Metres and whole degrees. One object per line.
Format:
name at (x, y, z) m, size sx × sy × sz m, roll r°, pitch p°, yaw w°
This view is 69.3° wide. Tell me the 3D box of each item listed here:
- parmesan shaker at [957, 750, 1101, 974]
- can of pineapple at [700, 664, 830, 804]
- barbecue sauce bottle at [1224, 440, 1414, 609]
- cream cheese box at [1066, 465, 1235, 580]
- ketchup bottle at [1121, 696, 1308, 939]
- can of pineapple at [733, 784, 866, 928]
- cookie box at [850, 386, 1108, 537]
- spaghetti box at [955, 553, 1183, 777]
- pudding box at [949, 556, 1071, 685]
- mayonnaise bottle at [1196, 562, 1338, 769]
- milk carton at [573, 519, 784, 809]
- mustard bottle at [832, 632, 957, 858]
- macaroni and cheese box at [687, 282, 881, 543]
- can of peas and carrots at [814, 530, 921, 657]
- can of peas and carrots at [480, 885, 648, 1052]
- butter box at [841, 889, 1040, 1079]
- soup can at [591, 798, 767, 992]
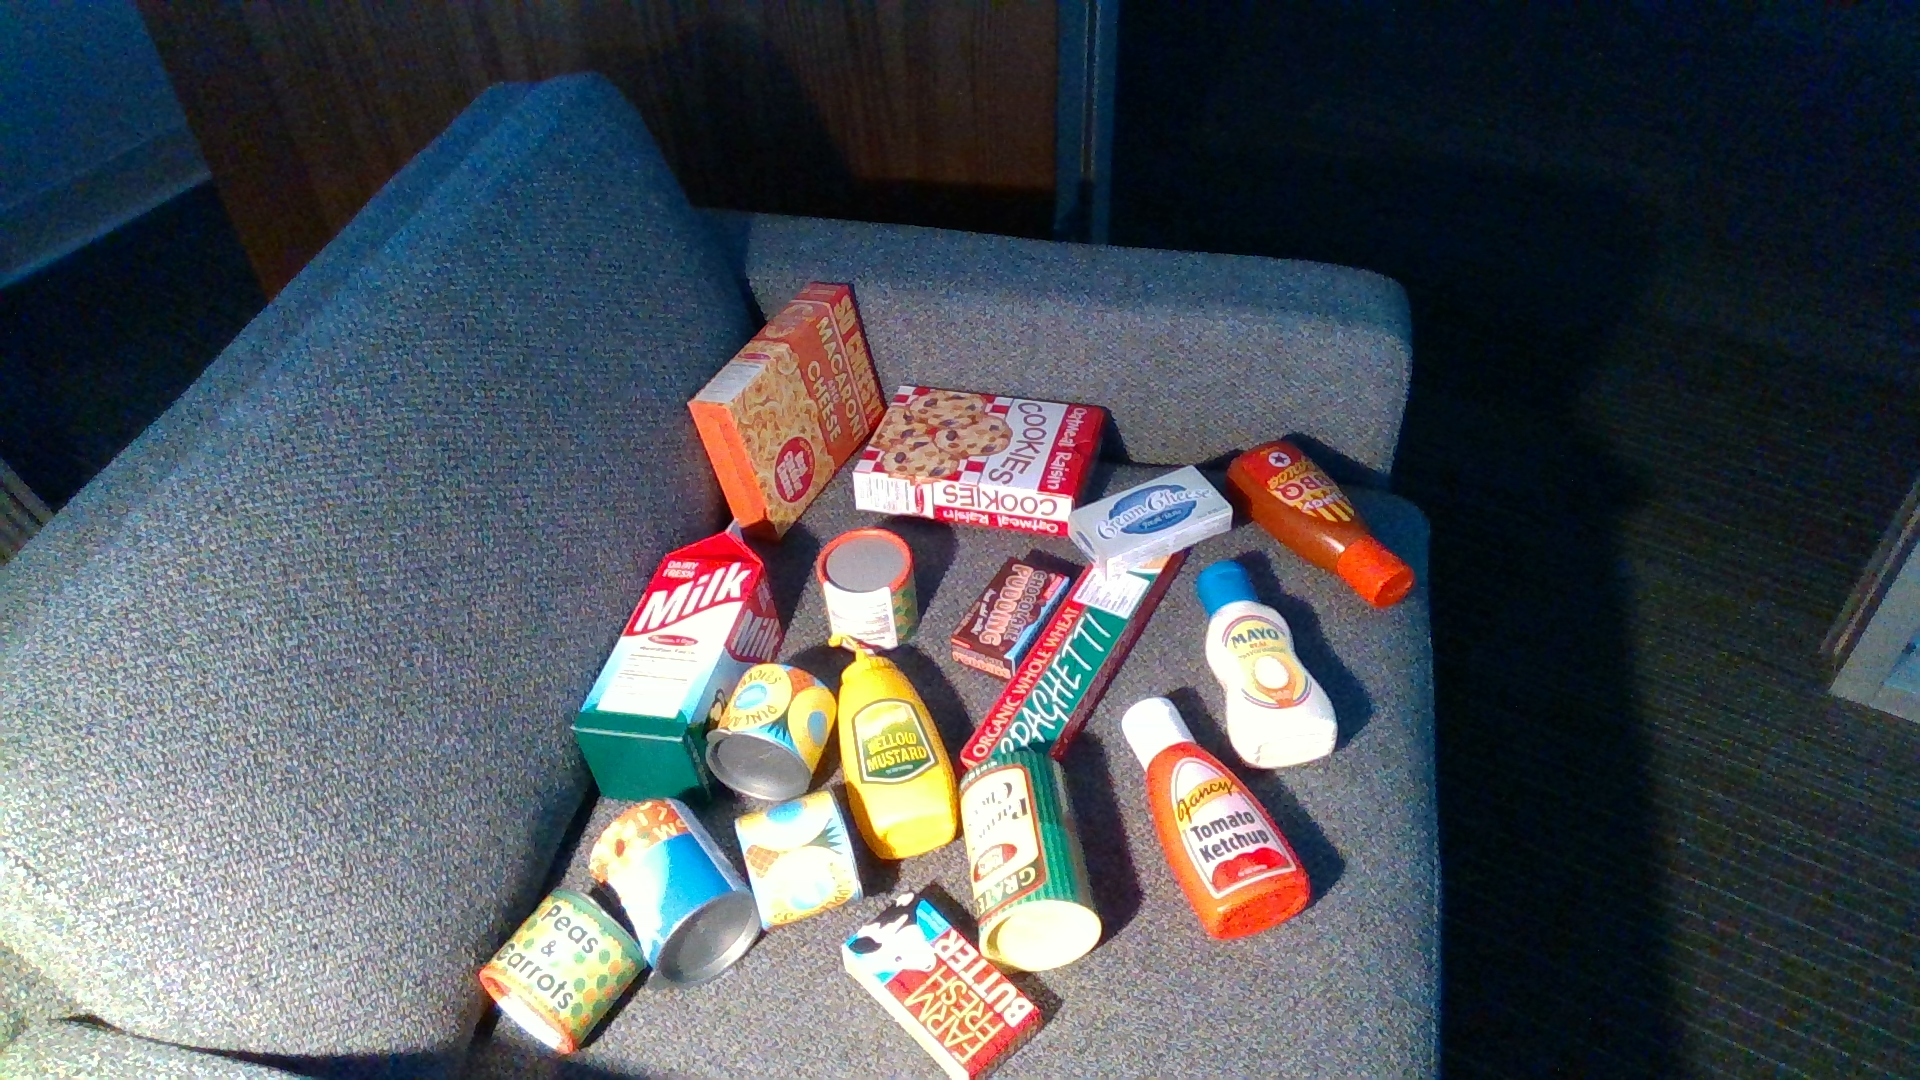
parmesan shaker at (0.034, 0.179, 0.778) m, size 0.071 × 0.071 × 0.103 m, roll -8°, pitch 43°, yaw -3°
can of pineapple at (-0.118, 0.116, 0.848) m, size 0.071 × 0.070 × 0.058 m, roll 5°, pitch 40°, yaw 10°
barbecue sauce bottle at (0.254, -0.011, 0.977) m, size 0.065 × 0.043 × 0.149 m, roll -19°, pitch 47°, yaw -23°
cream cheese box at (0.130, -0.013, 0.947) m, size 0.104 × 0.024 × 0.053 m, roll -21°, pitch 44°, yaw -18°
ketchup bottle at (0.139, 0.156, 0.806) m, size 0.065 × 0.043 × 0.149 m, roll -15°, pitch 44°, yaw -12°
can of pineapple at (-0.090, 0.178, 0.780) m, size 0.058 × 0.070 × 0.071 m, roll -16°, pitch 44°, yaw -12°
cookie box at (0.017, -0.062, 1.041) m, size 0.167 × 0.040 × 0.123 m, roll 8°, pitch 38°, yaw 13°
spaghetti box at (0.078, 0.069, 0.904) m, size 0.050 × 0.028 × 0.251 m, roll 19°, pitch 47°, yaw 23°
pudding box at (0.035, 0.053, 0.926) m, size 0.050 × 0.030 × 0.084 m, roll 20°, pitch 50°, yaw 25°
mayonnaise bottle at (0.188, 0.076, 0.887) m, size 0.065 × 0.041 × 0.149 m, roll -10°, pitch 43°, yaw -3°
milk carton at (-0.170, 0.074, 0.901) m, size 0.073 × 0.072 × 0.192 m, roll 4°, pitch 44°, yaw 14°
mustard bottle at (-0.049, 0.116, 0.858) m, size 0.065 × 0.048 × 0.161 m, roll -14°, pitch 49°, yaw -12°
macaroni and cheese box at (-0.124, -0.098, 1.041) m, size 0.040 × 0.123 × 0.167 m, roll 8°, pitch 44°, yaw 28°
can of peas and carrots at (-0.062, 0.033, 0.937) m, size 0.071 × 0.058 × 0.071 m, roll -3°, pitch 42°, yaw 3°
can of peas and carrots at (-0.211, 0.227, 0.738) m, size 0.071 × 0.070 × 0.059 m, roll 22°, pitch 52°, yaw 26°
butter box at (-0.011, 0.239, 0.742) m, size 0.053 × 0.024 × 0.104 m, roll -35°, pitch 51°, yaw -26°
soup can at (-0.159, 0.195, 0.767) m, size 0.071 × 0.071 × 0.084 m, roll -29°, pitch 49°, yaw -24°
